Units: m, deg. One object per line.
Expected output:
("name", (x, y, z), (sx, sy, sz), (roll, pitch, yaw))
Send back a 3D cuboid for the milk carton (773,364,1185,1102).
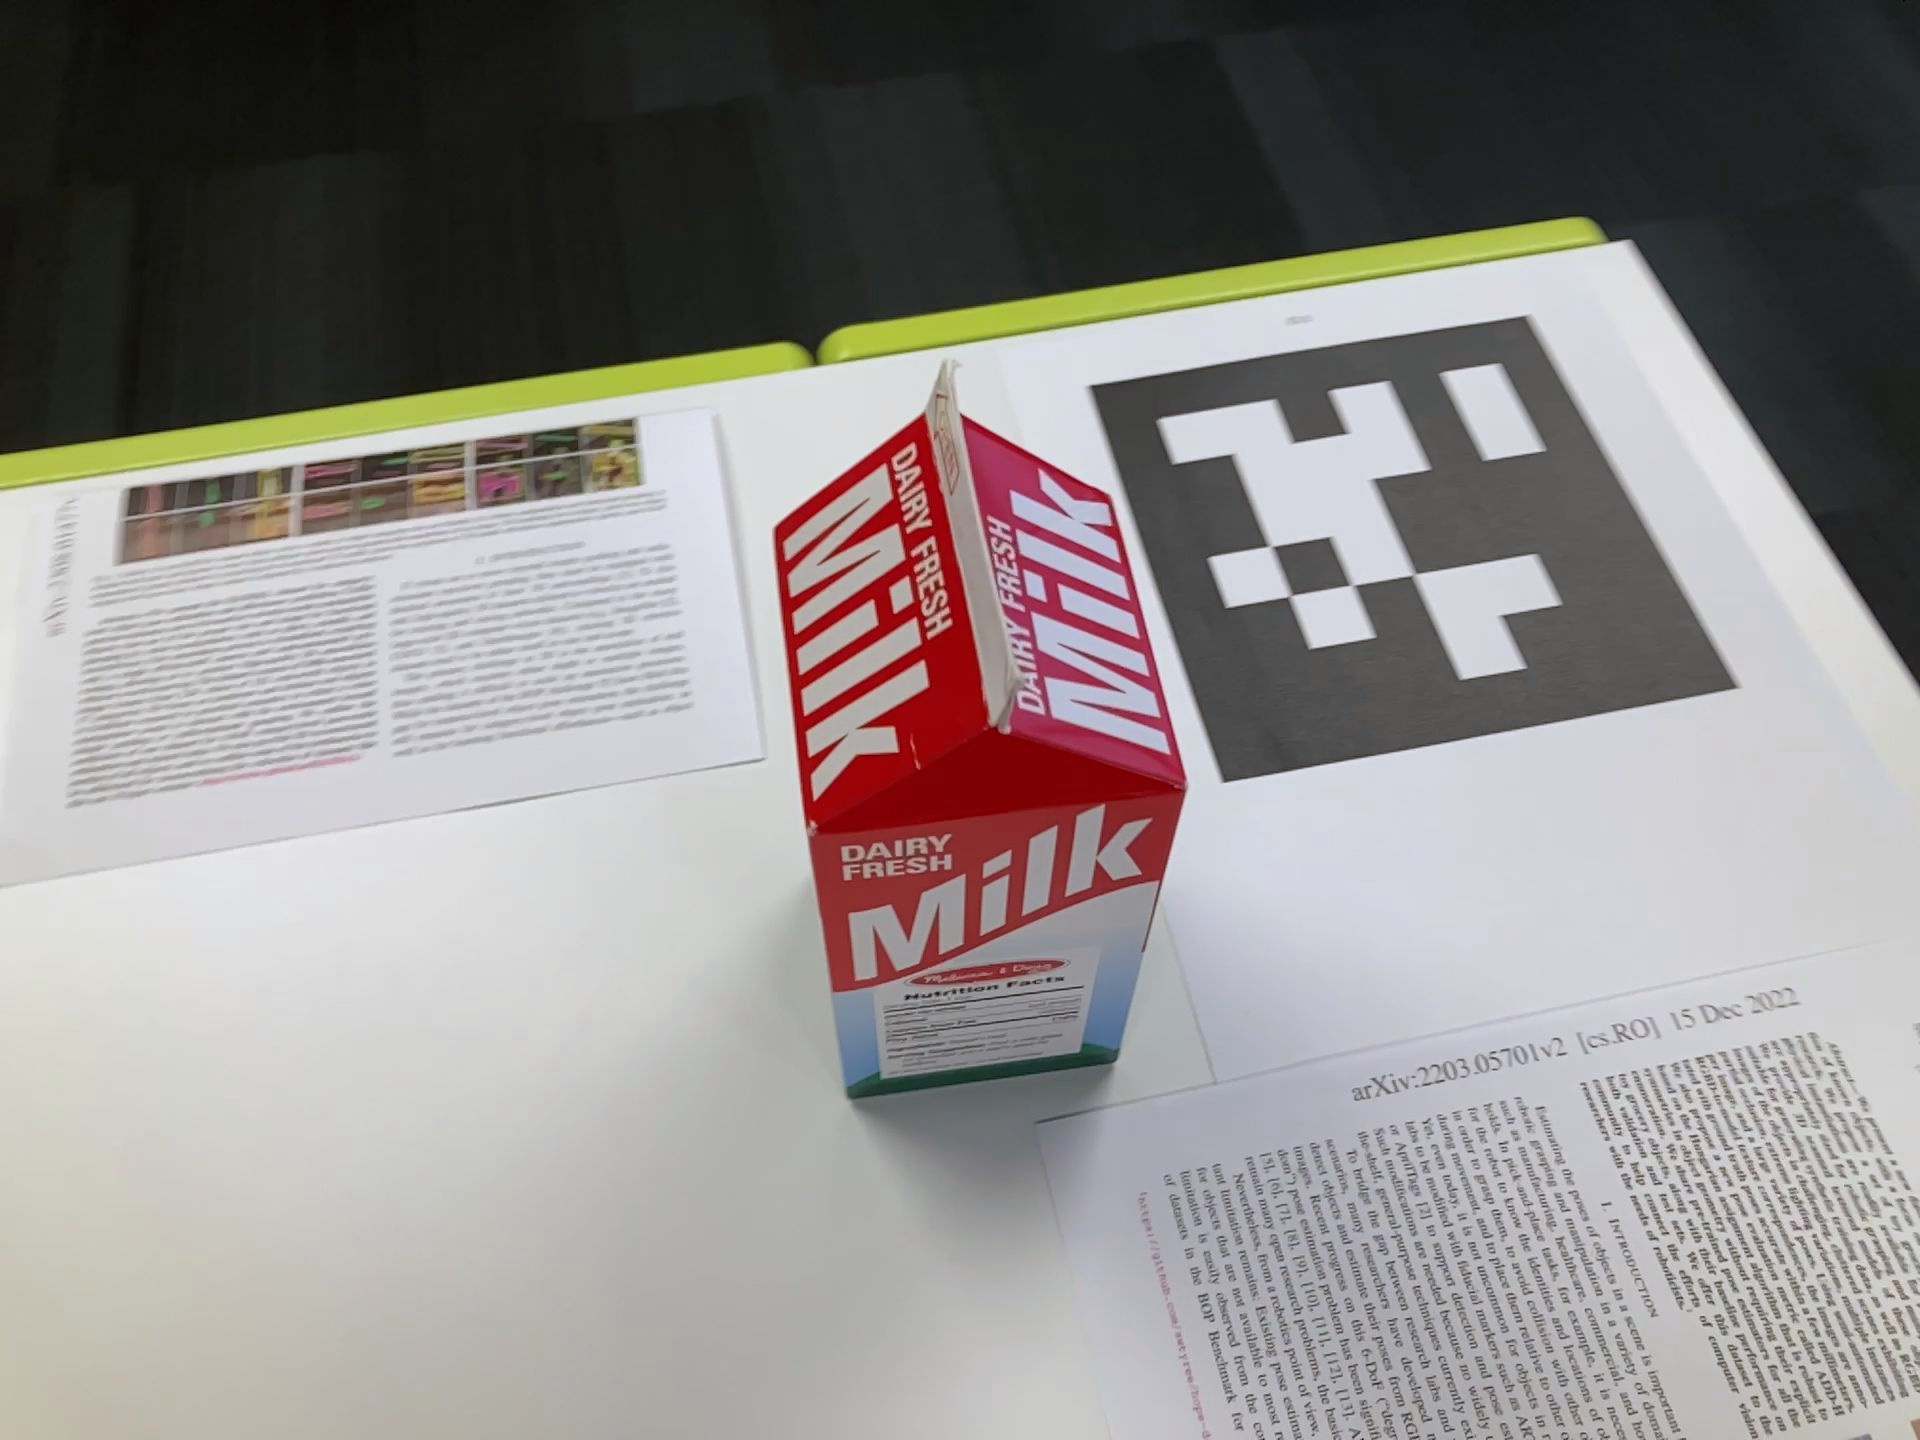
("milk carton", (0.001, 0.015, 0.347), (0.073, 0.190, 0.072), (-7, 59, -4))
